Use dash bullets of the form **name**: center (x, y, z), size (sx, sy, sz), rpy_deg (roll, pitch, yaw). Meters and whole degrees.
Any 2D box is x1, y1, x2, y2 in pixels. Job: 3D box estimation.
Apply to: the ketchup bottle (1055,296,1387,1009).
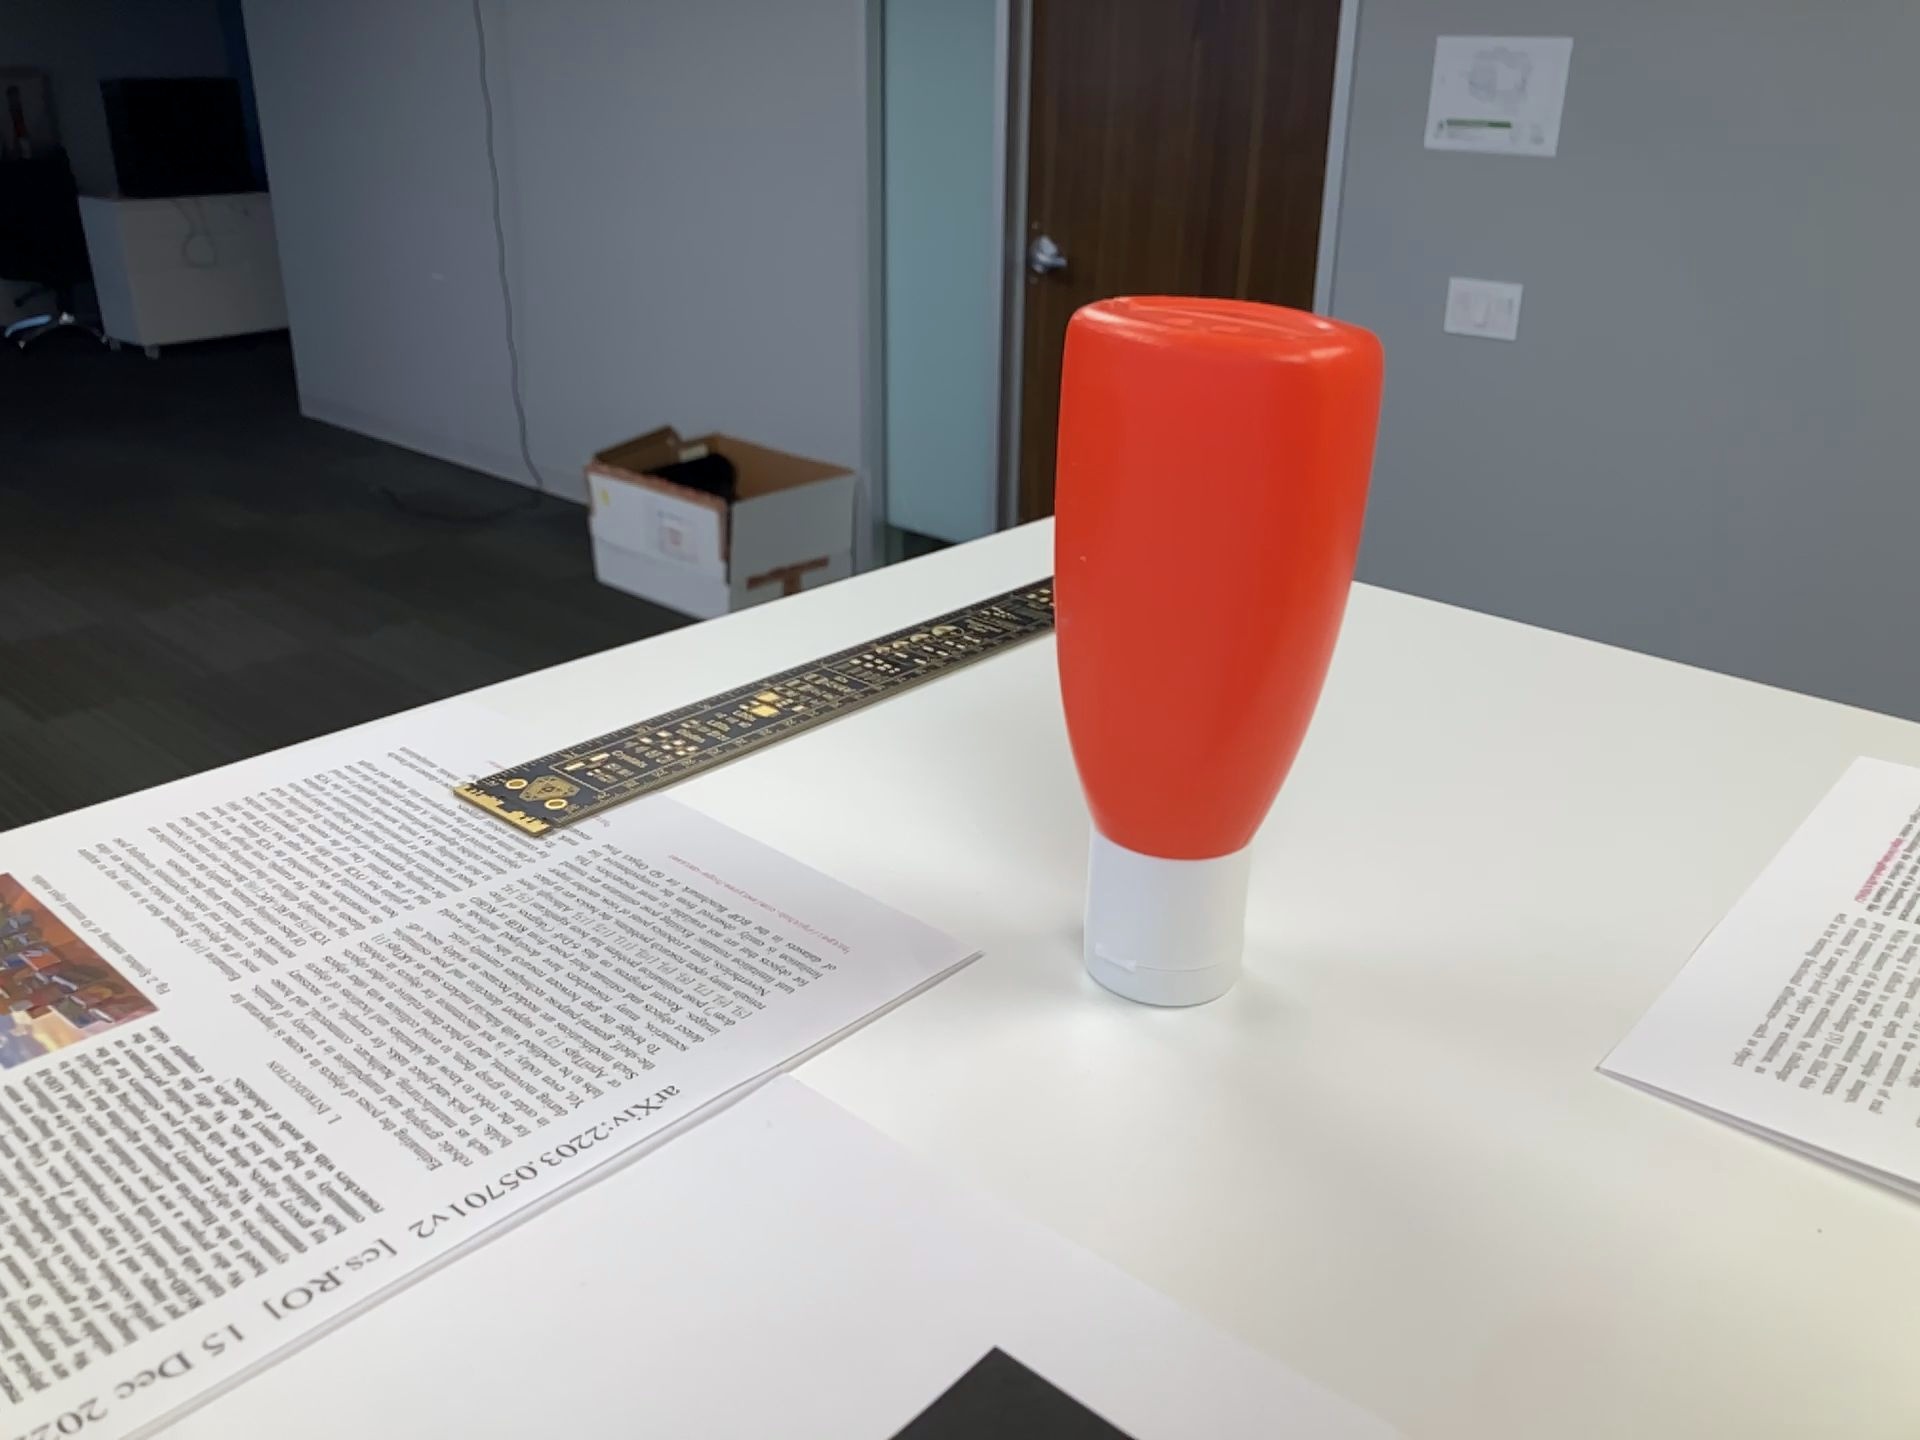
- **ketchup bottle**: center (0.048, -0.011, 0.336), size (0.065, 0.149, 0.043), rpy_deg (21, 30, 38)
